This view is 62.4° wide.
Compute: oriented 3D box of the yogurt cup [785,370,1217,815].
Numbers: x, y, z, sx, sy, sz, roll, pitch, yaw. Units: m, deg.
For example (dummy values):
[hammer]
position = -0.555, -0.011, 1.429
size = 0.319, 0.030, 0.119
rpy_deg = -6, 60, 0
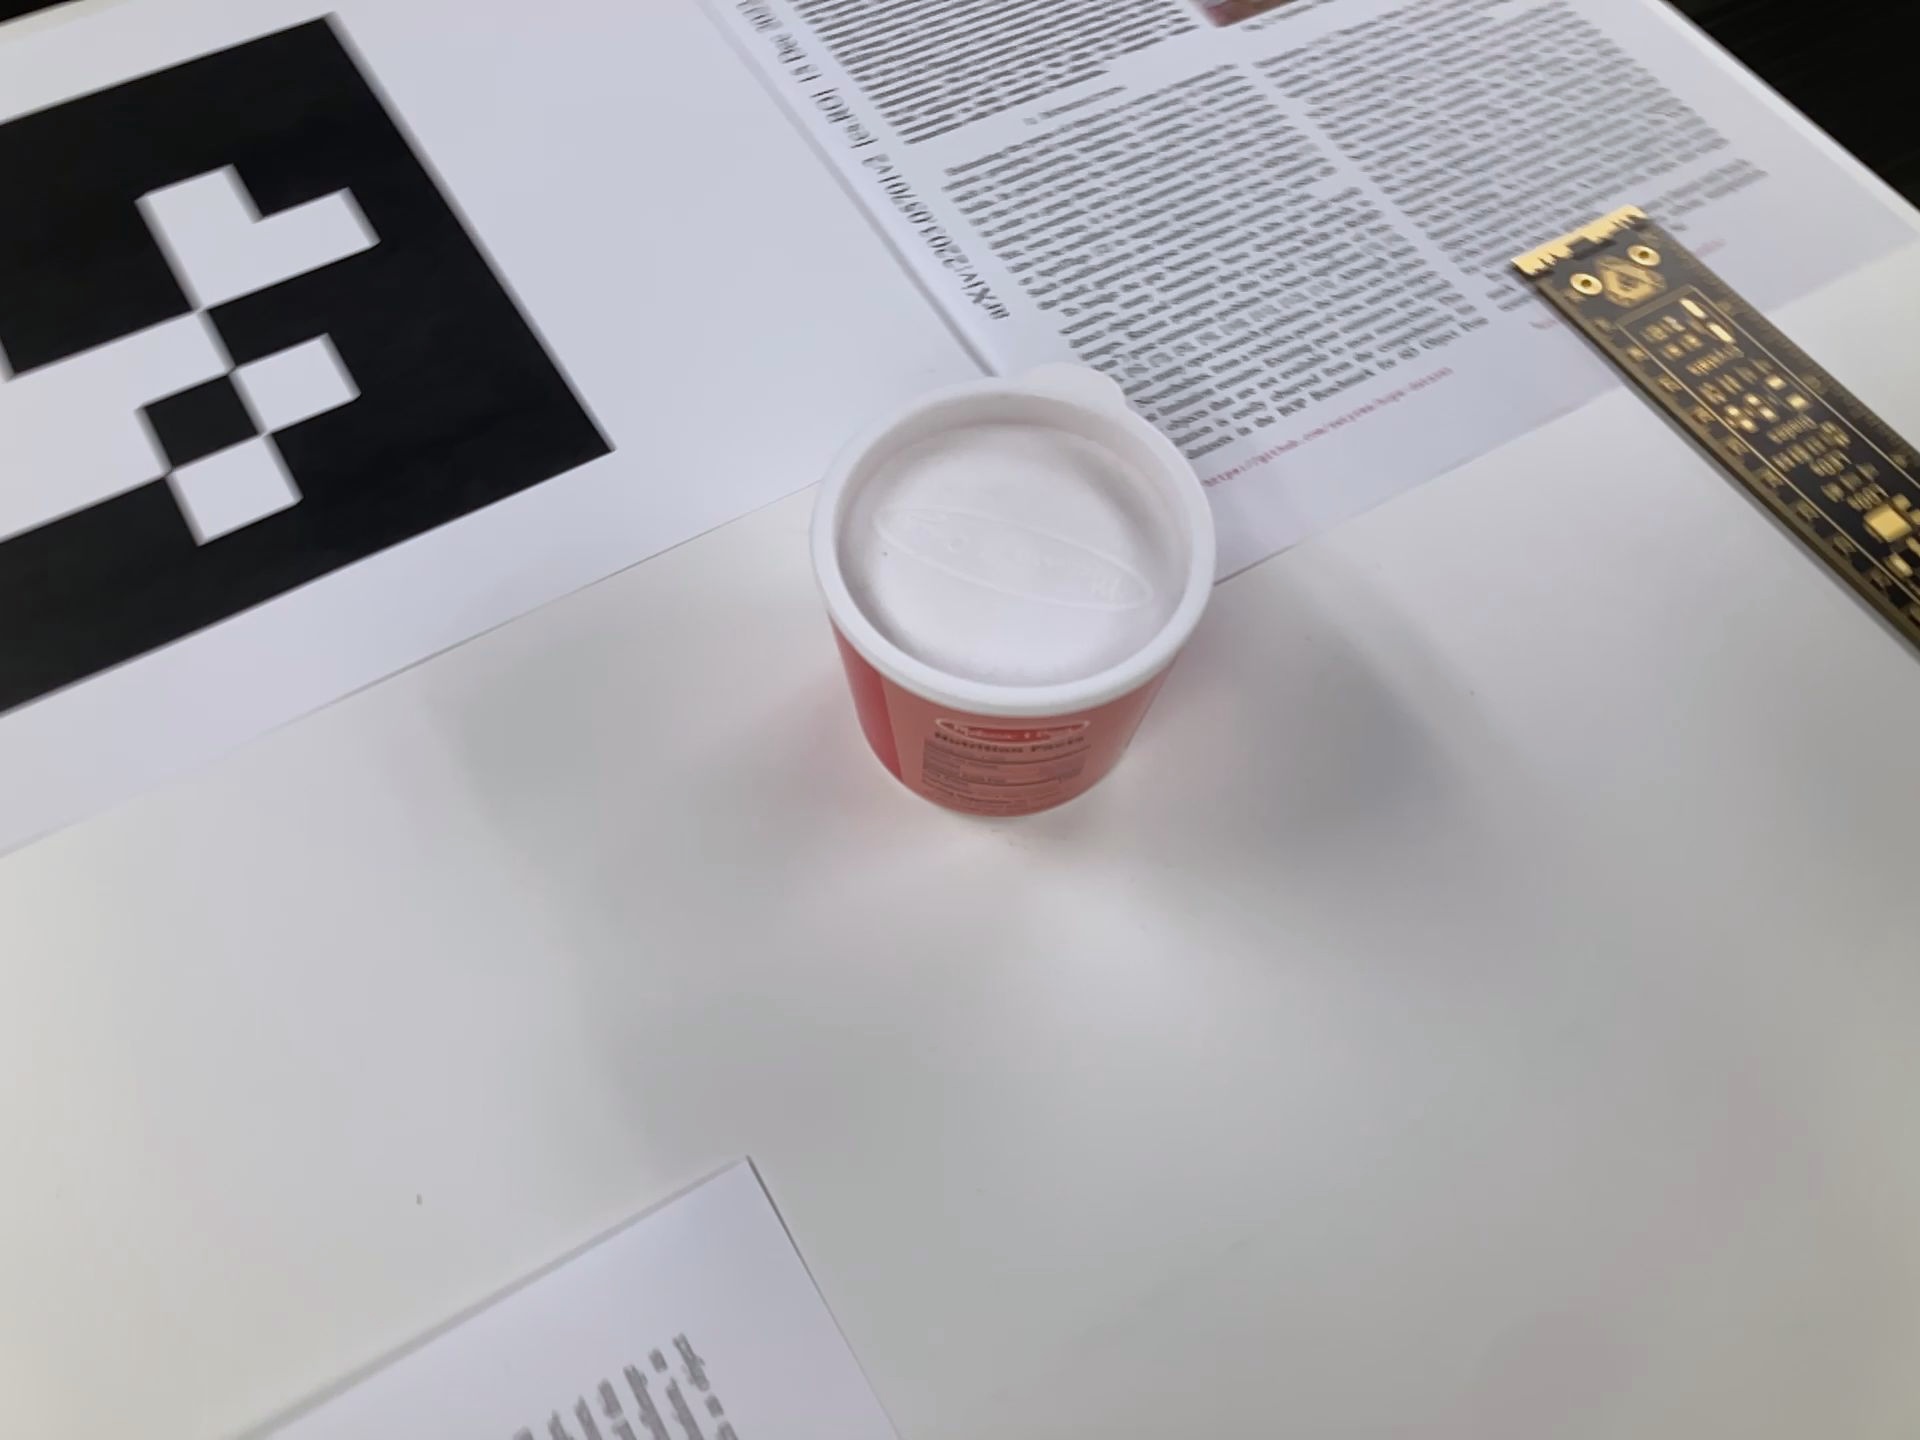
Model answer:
[yogurt cup]
position = 0.007, -0.019, 0.280
size = 0.072, 0.054, 0.072
rpy_deg = 1, 61, -1
